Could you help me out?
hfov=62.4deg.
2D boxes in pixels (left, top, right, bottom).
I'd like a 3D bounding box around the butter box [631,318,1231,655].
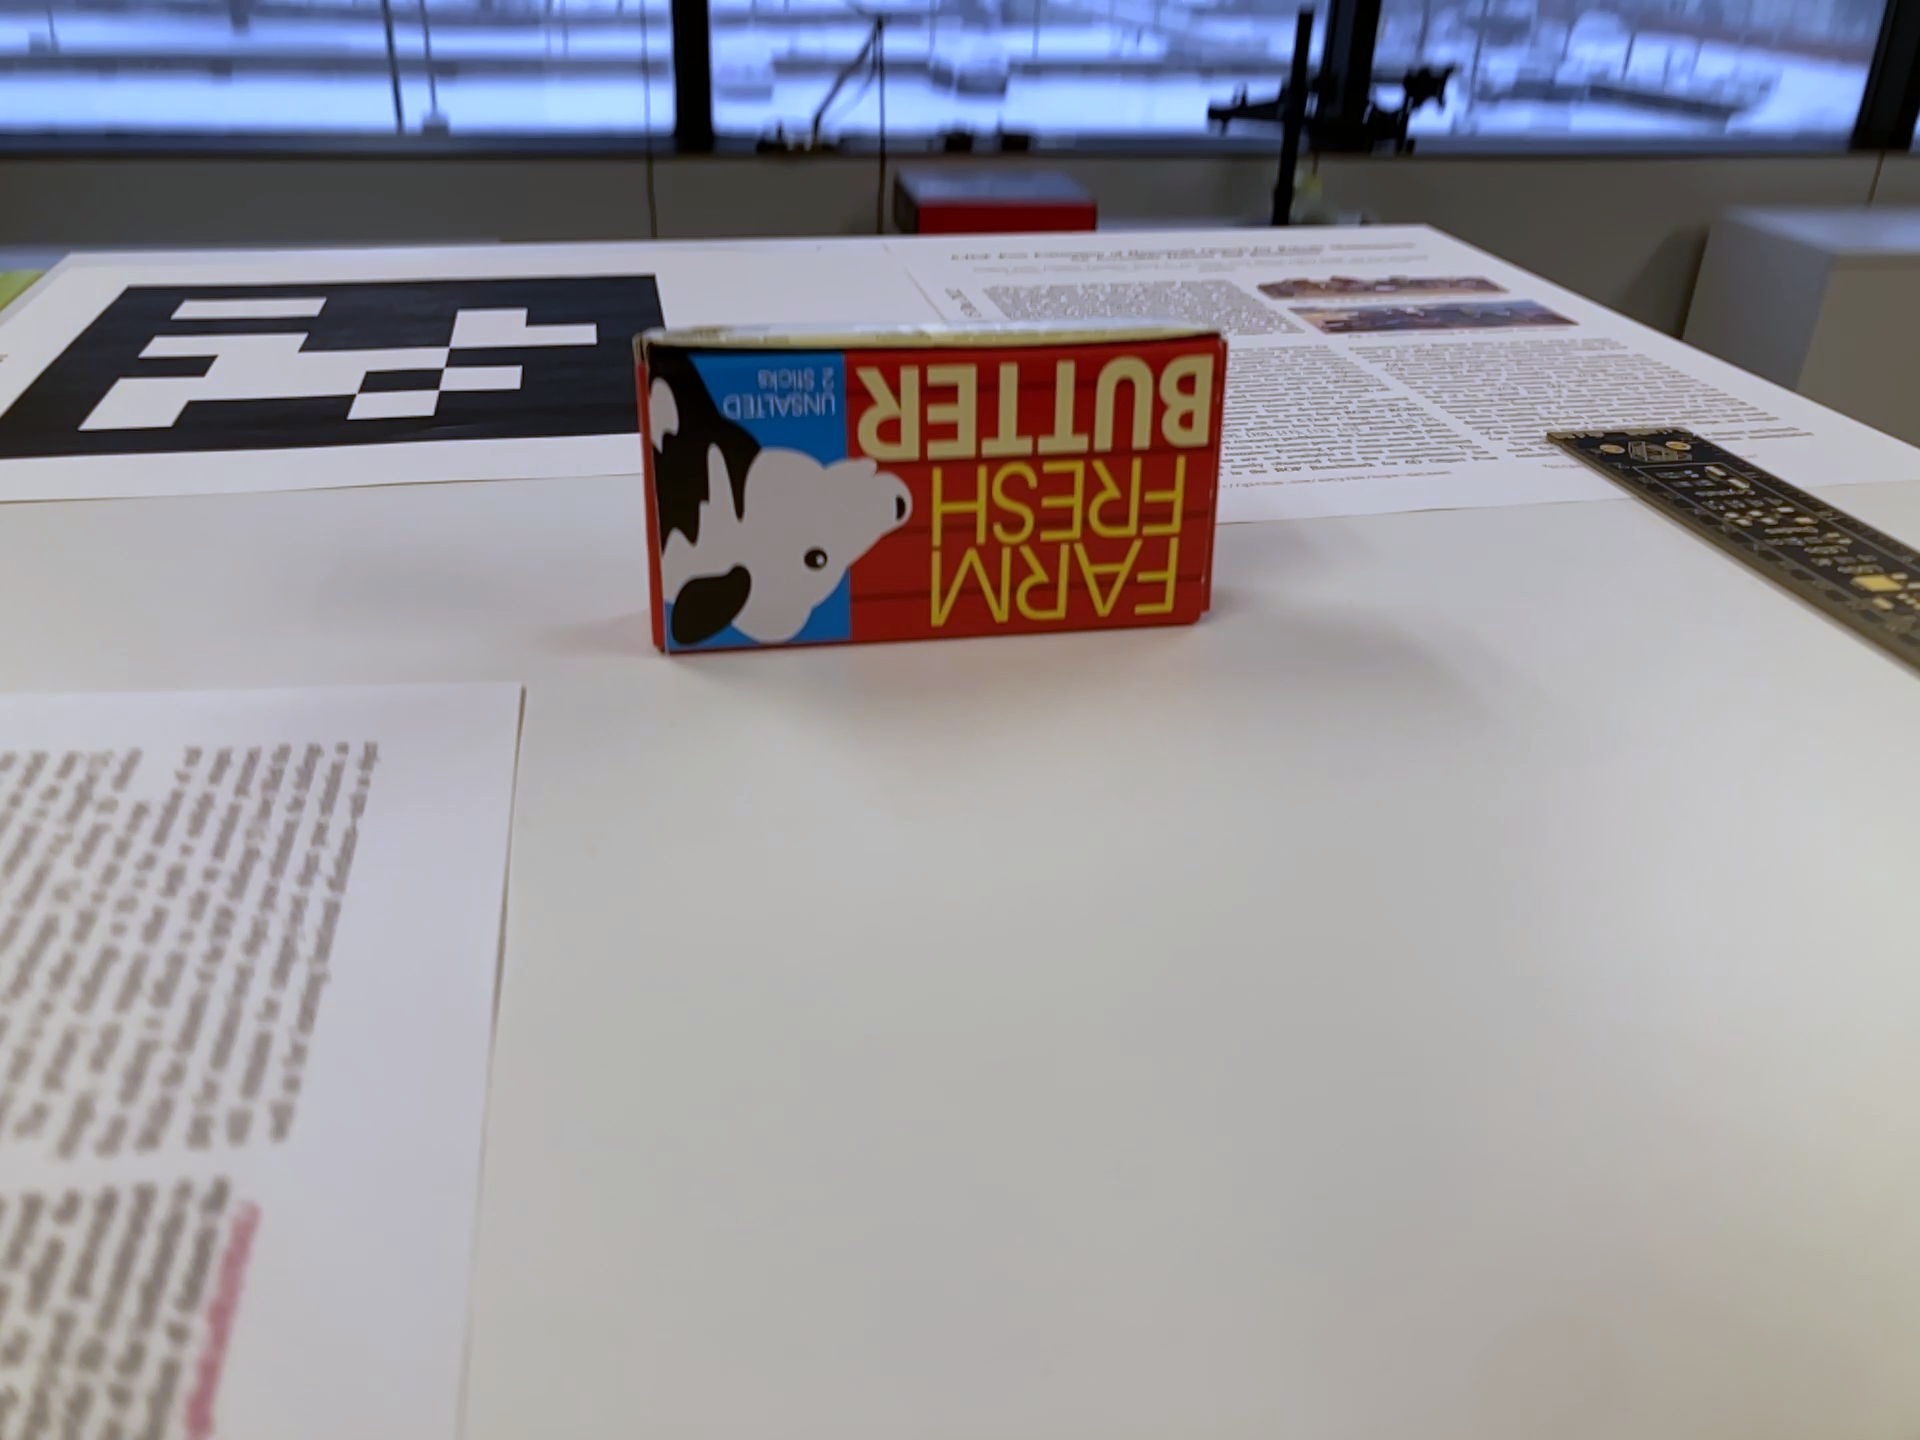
[{"bbox_3d":[-0.004,-0.043,0.283,0.103,0.053,0.024,-4,25,-11],"label":"butter box"}]
